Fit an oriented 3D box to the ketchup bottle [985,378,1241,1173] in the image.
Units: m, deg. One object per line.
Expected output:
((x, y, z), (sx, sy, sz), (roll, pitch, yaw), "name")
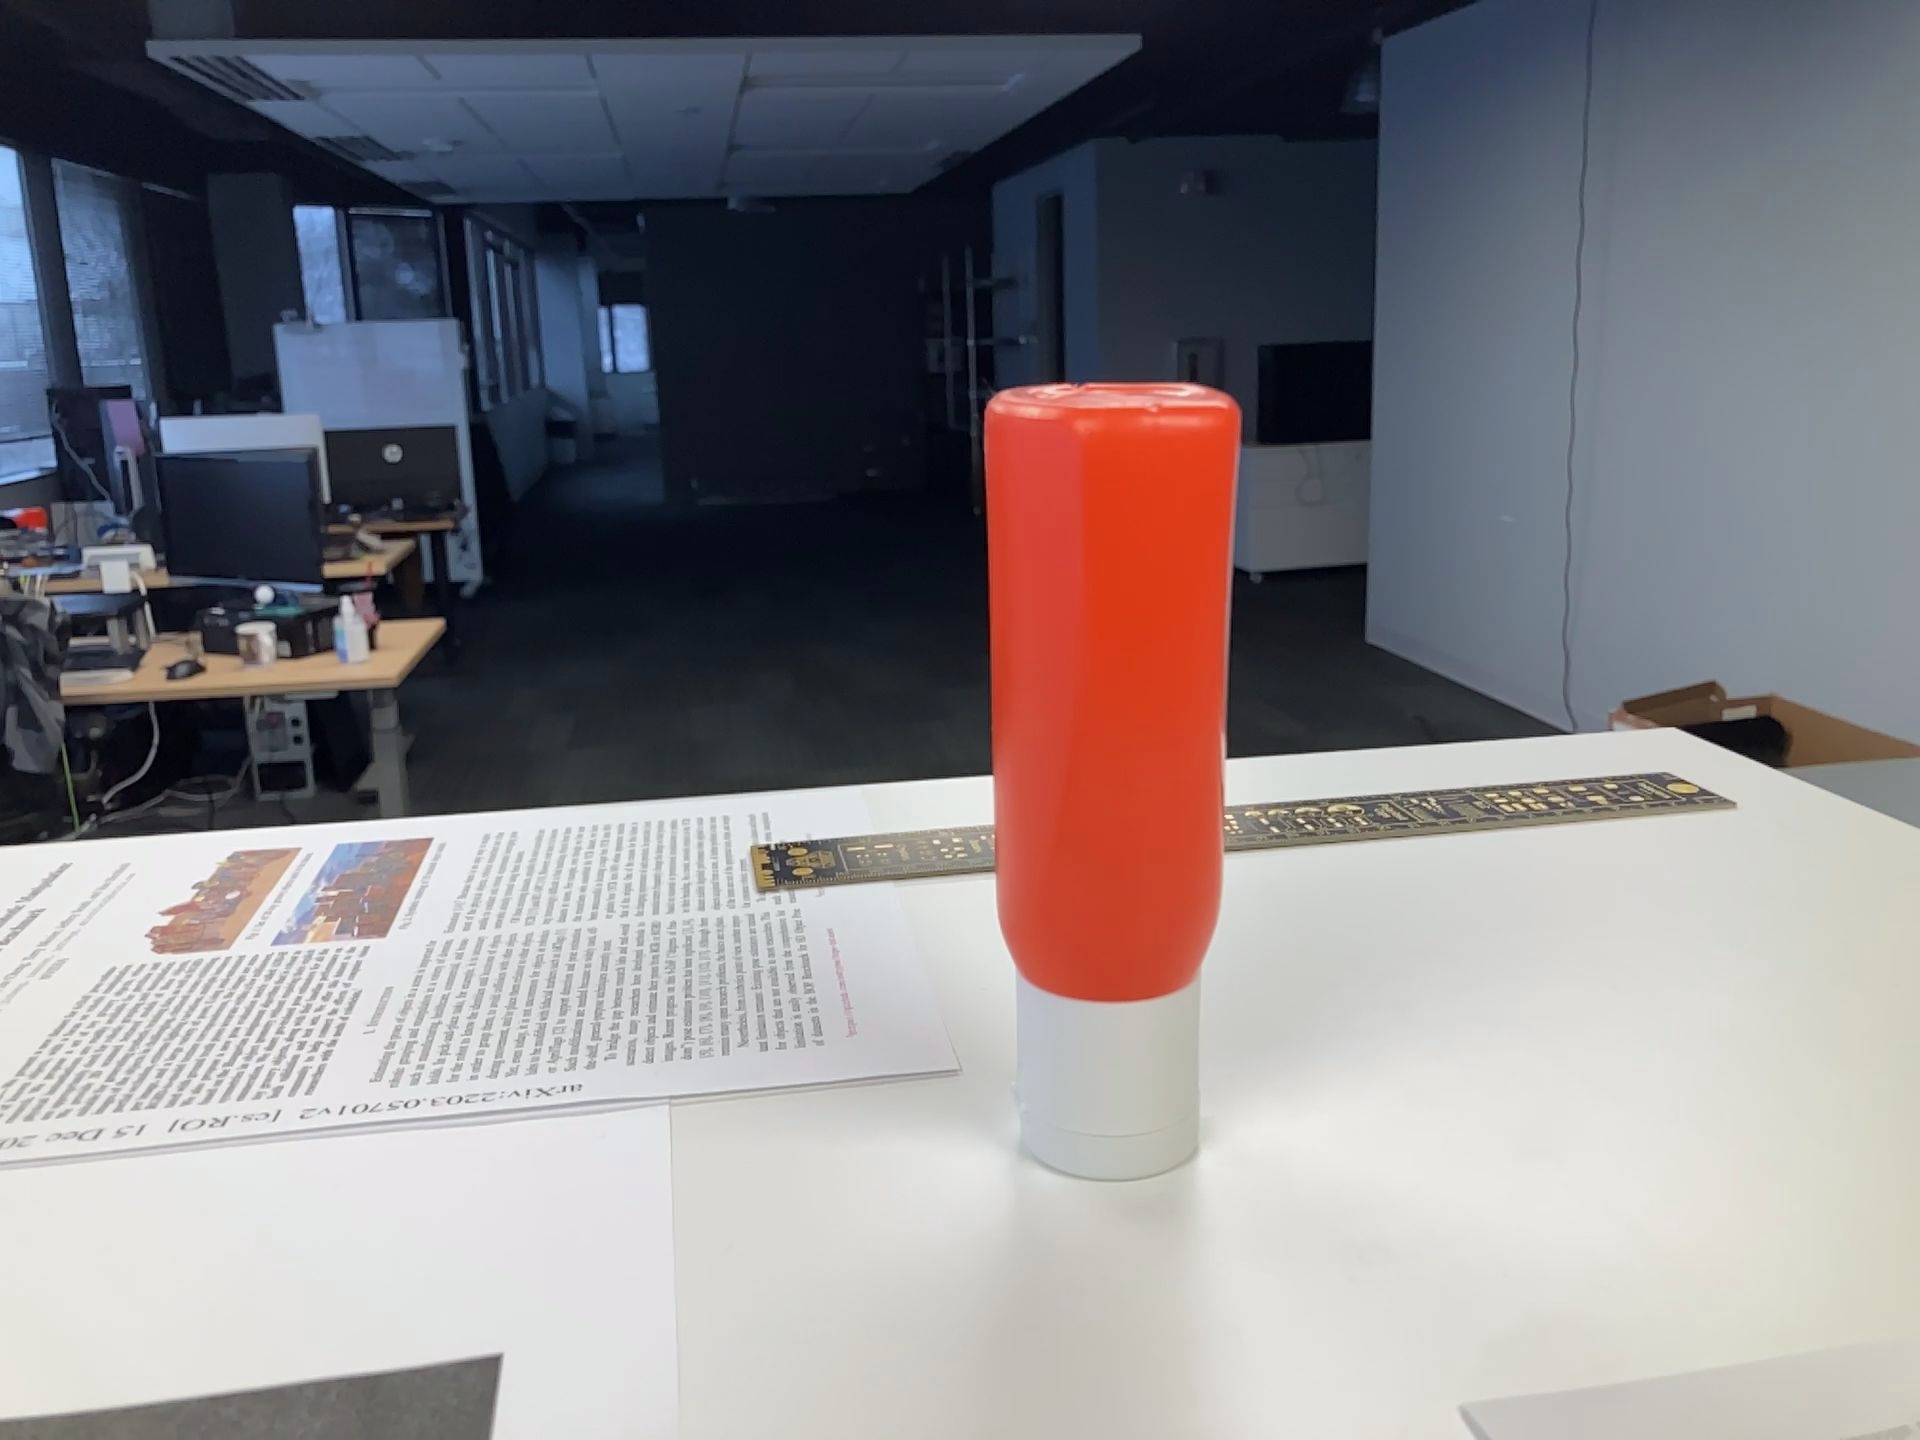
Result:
((0.028, 0.011, 0.303), (0.043, 0.149, 0.065), (-3, 14, -9), "ketchup bottle")
